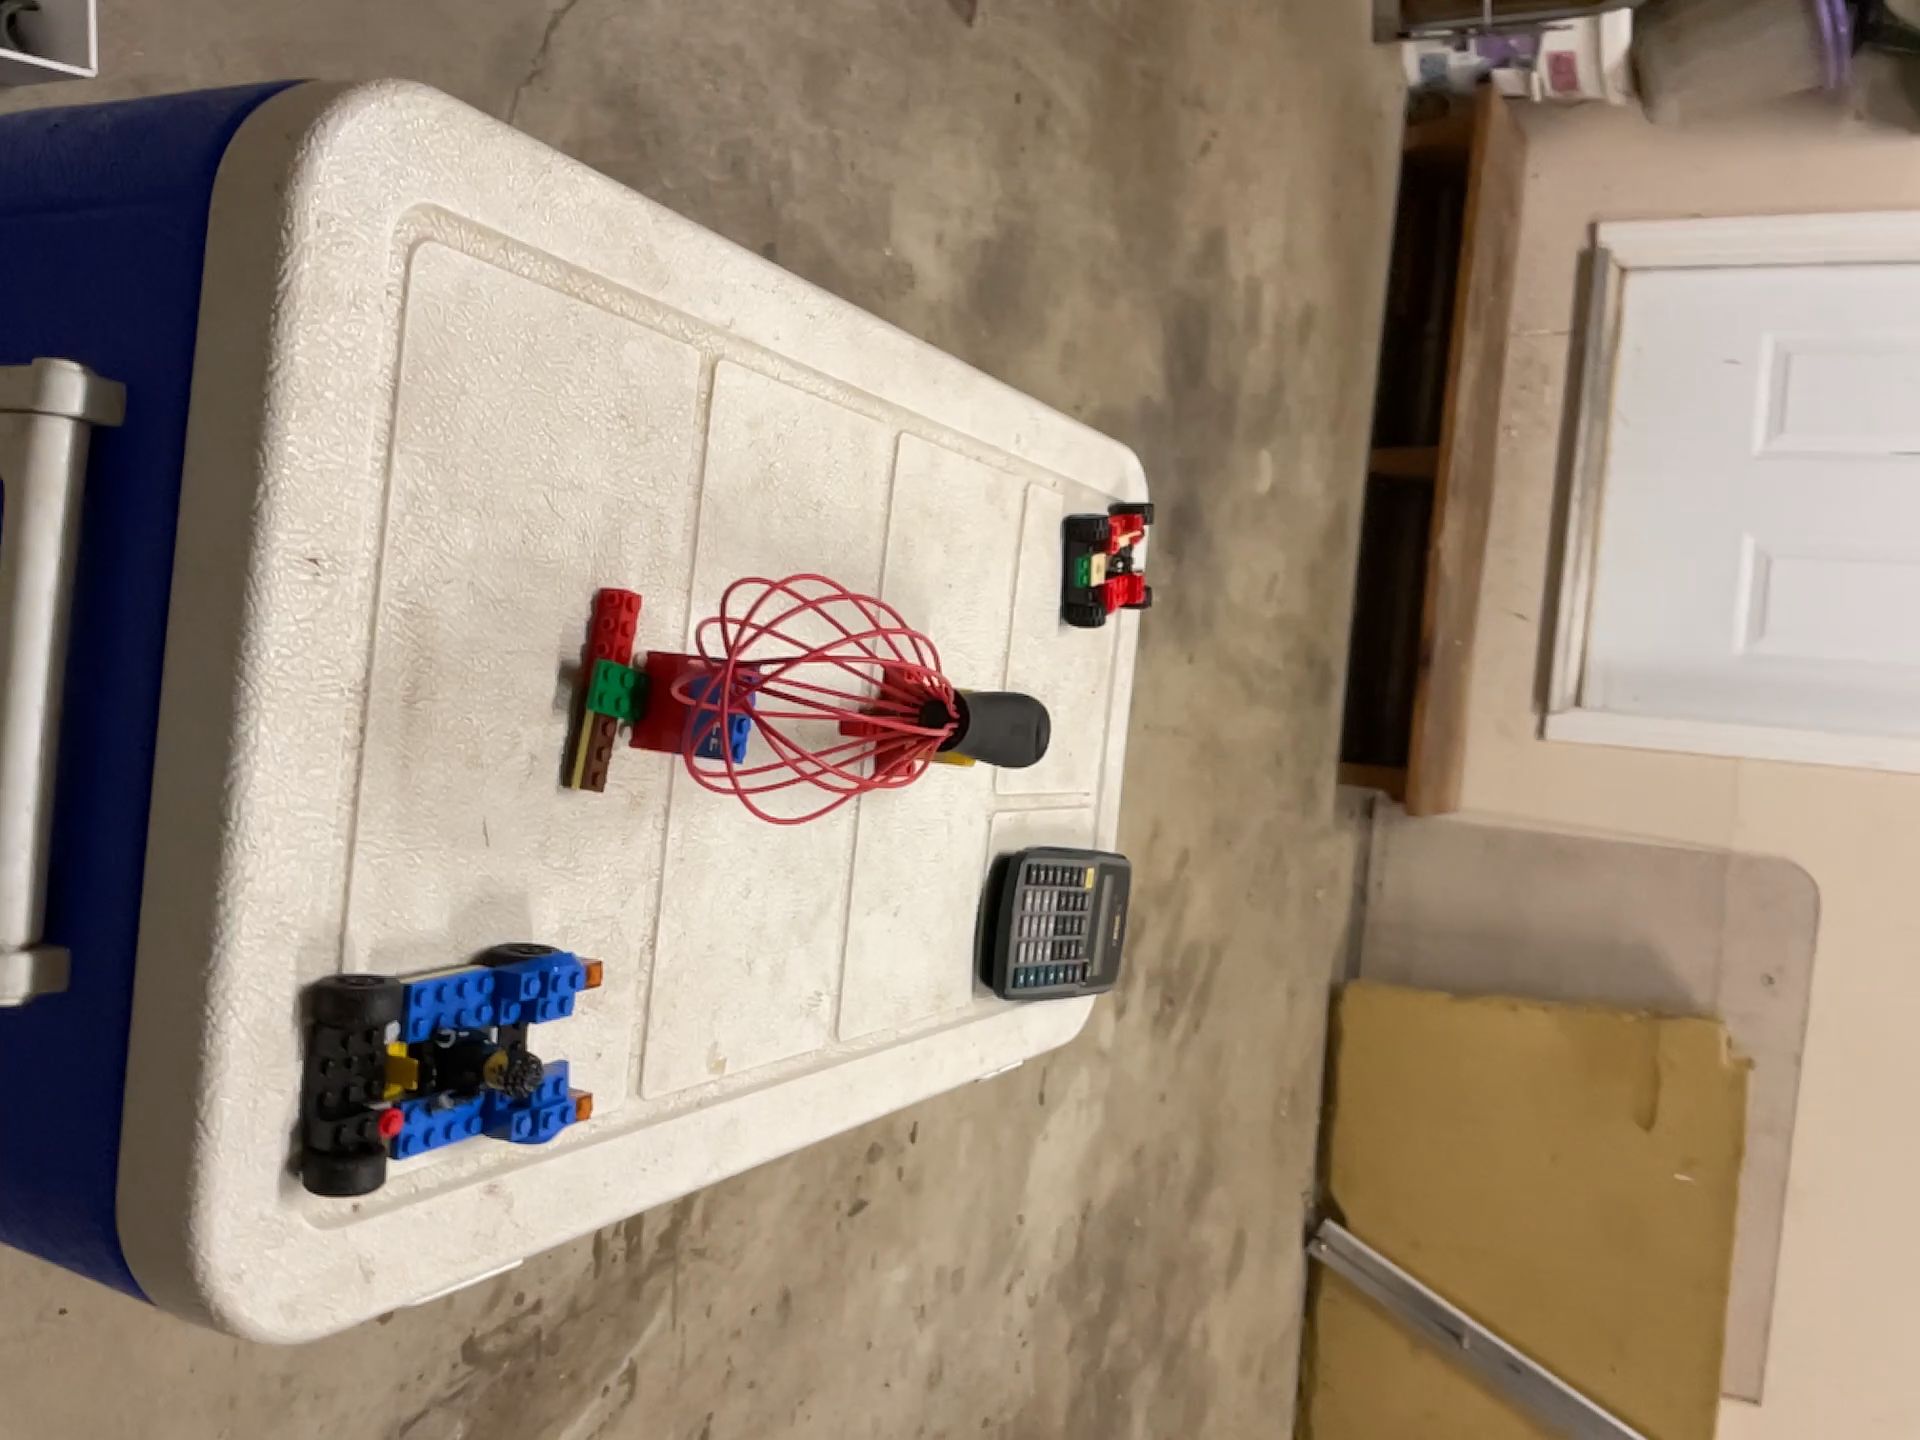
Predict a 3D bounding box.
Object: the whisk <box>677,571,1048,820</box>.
[{"bbox_3d":[-0.014,-0.002,0.547,0.296,0.073,0.073,10,84,-72],"label":"whisk"}]
